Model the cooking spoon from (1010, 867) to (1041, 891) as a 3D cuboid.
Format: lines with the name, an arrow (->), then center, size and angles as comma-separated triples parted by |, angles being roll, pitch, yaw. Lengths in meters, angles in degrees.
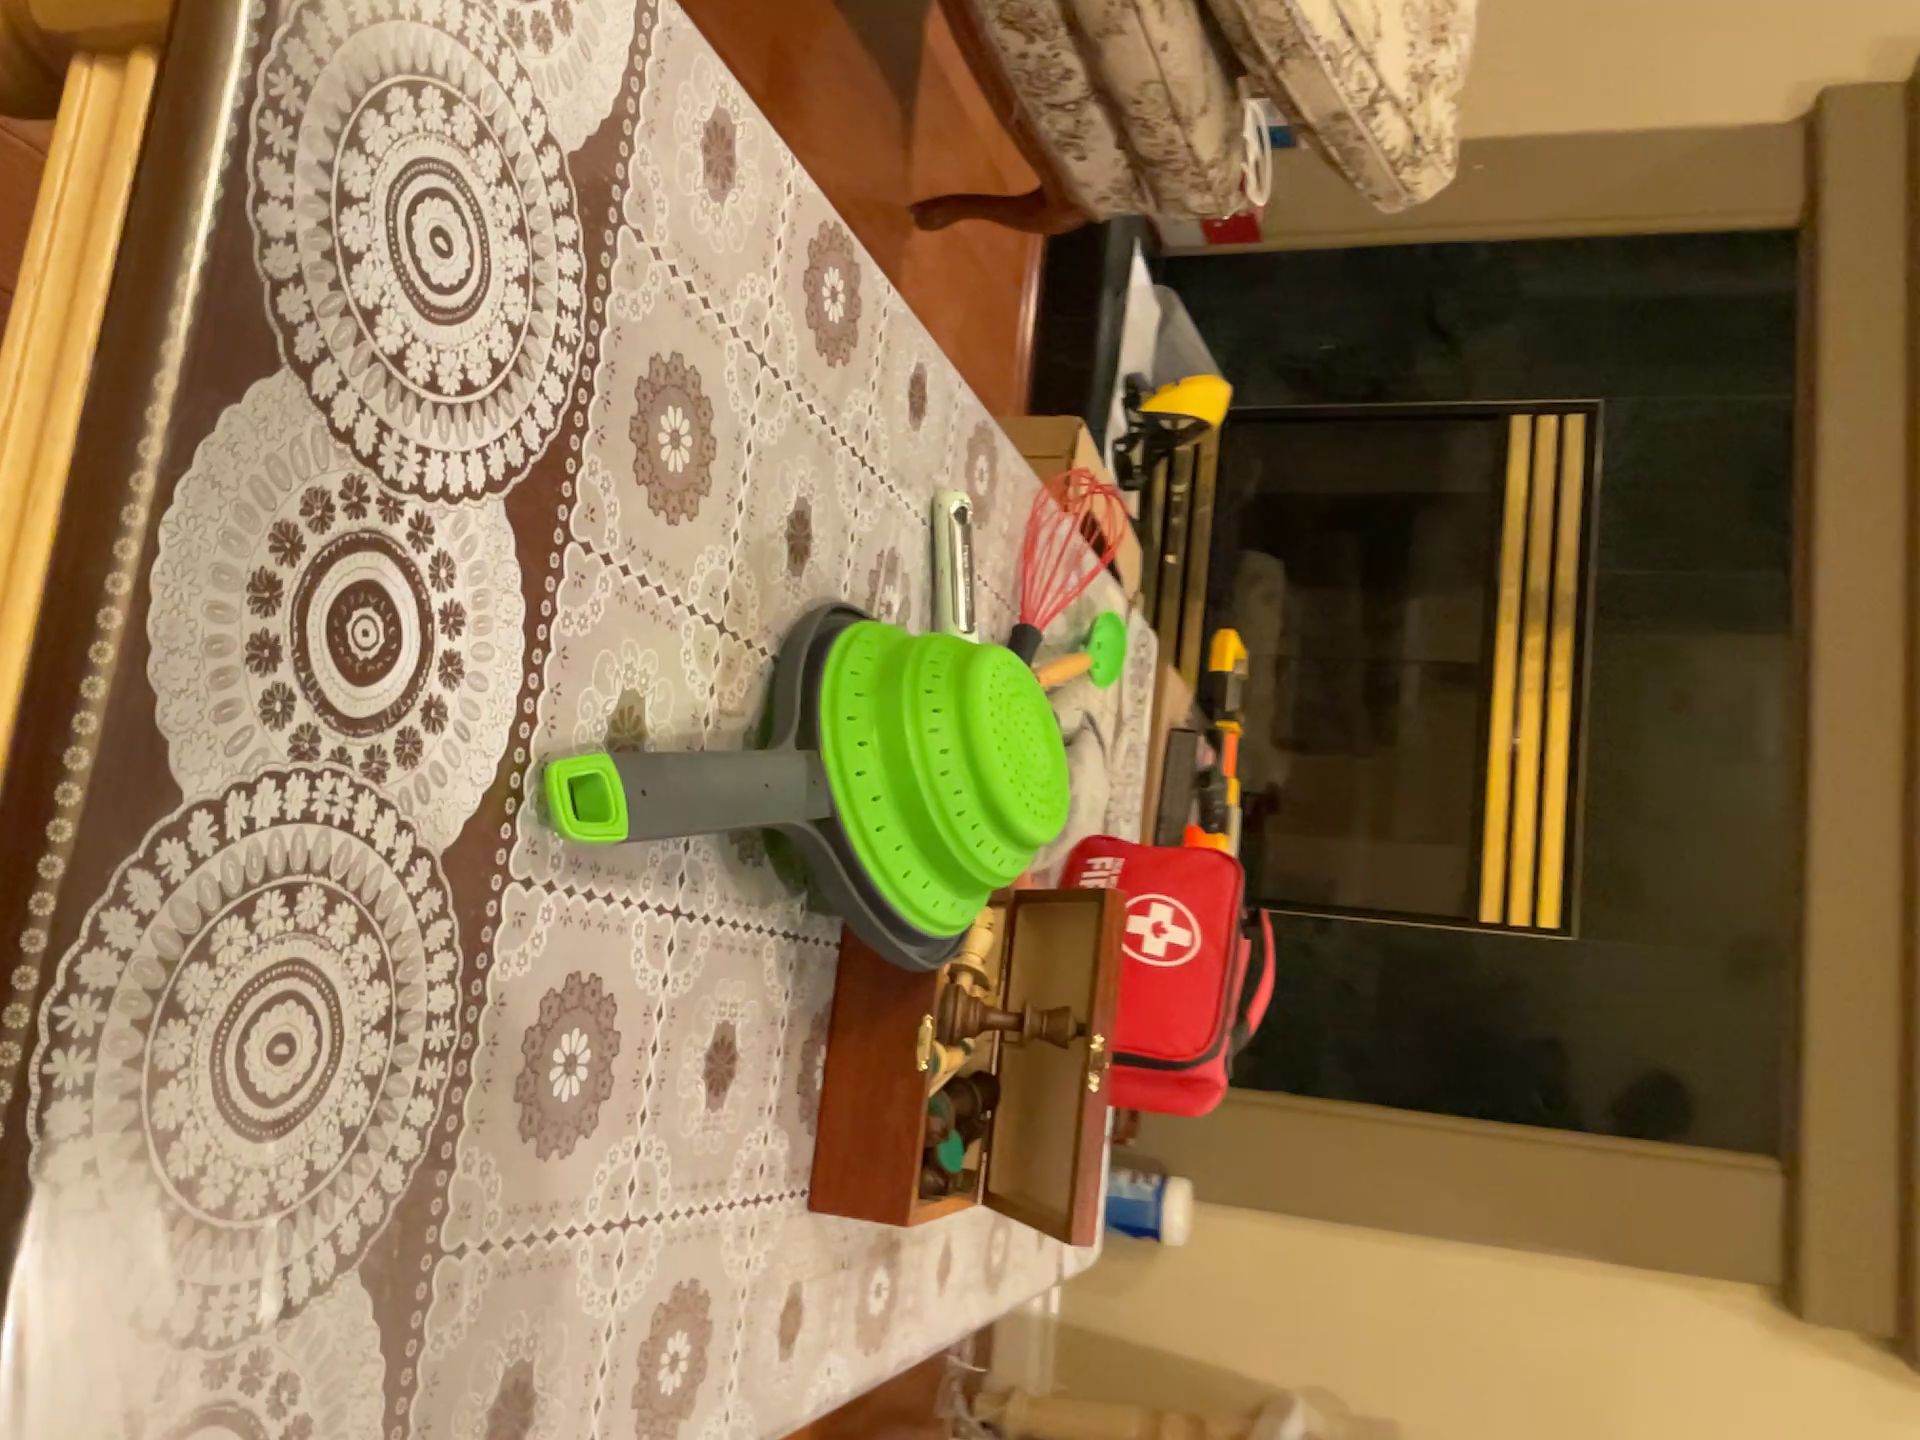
cooking spoon -> 0.042, 0.112, 1.113 | 0.318, 0.017, 0.069 | 77, 21, -67

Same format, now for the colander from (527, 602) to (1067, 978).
colander -> -0.042, 0.023, 0.755 | 0.397, 0.094, 0.204 | 2, 72, -64

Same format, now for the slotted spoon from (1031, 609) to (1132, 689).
slotted spoon -> 0.095, -0.047, 1.275 | 0.314, 0.031, 0.070 | -23, 116, -72

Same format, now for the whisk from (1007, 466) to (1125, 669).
whisk -> 0.057, -0.076, 1.154 | 0.073, 0.073, 0.296 | 80, 29, -51

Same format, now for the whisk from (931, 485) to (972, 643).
whisk -> -0.005, -0.025, 1.011 | 0.058, 0.059, 0.246 | -164, -109, -67
